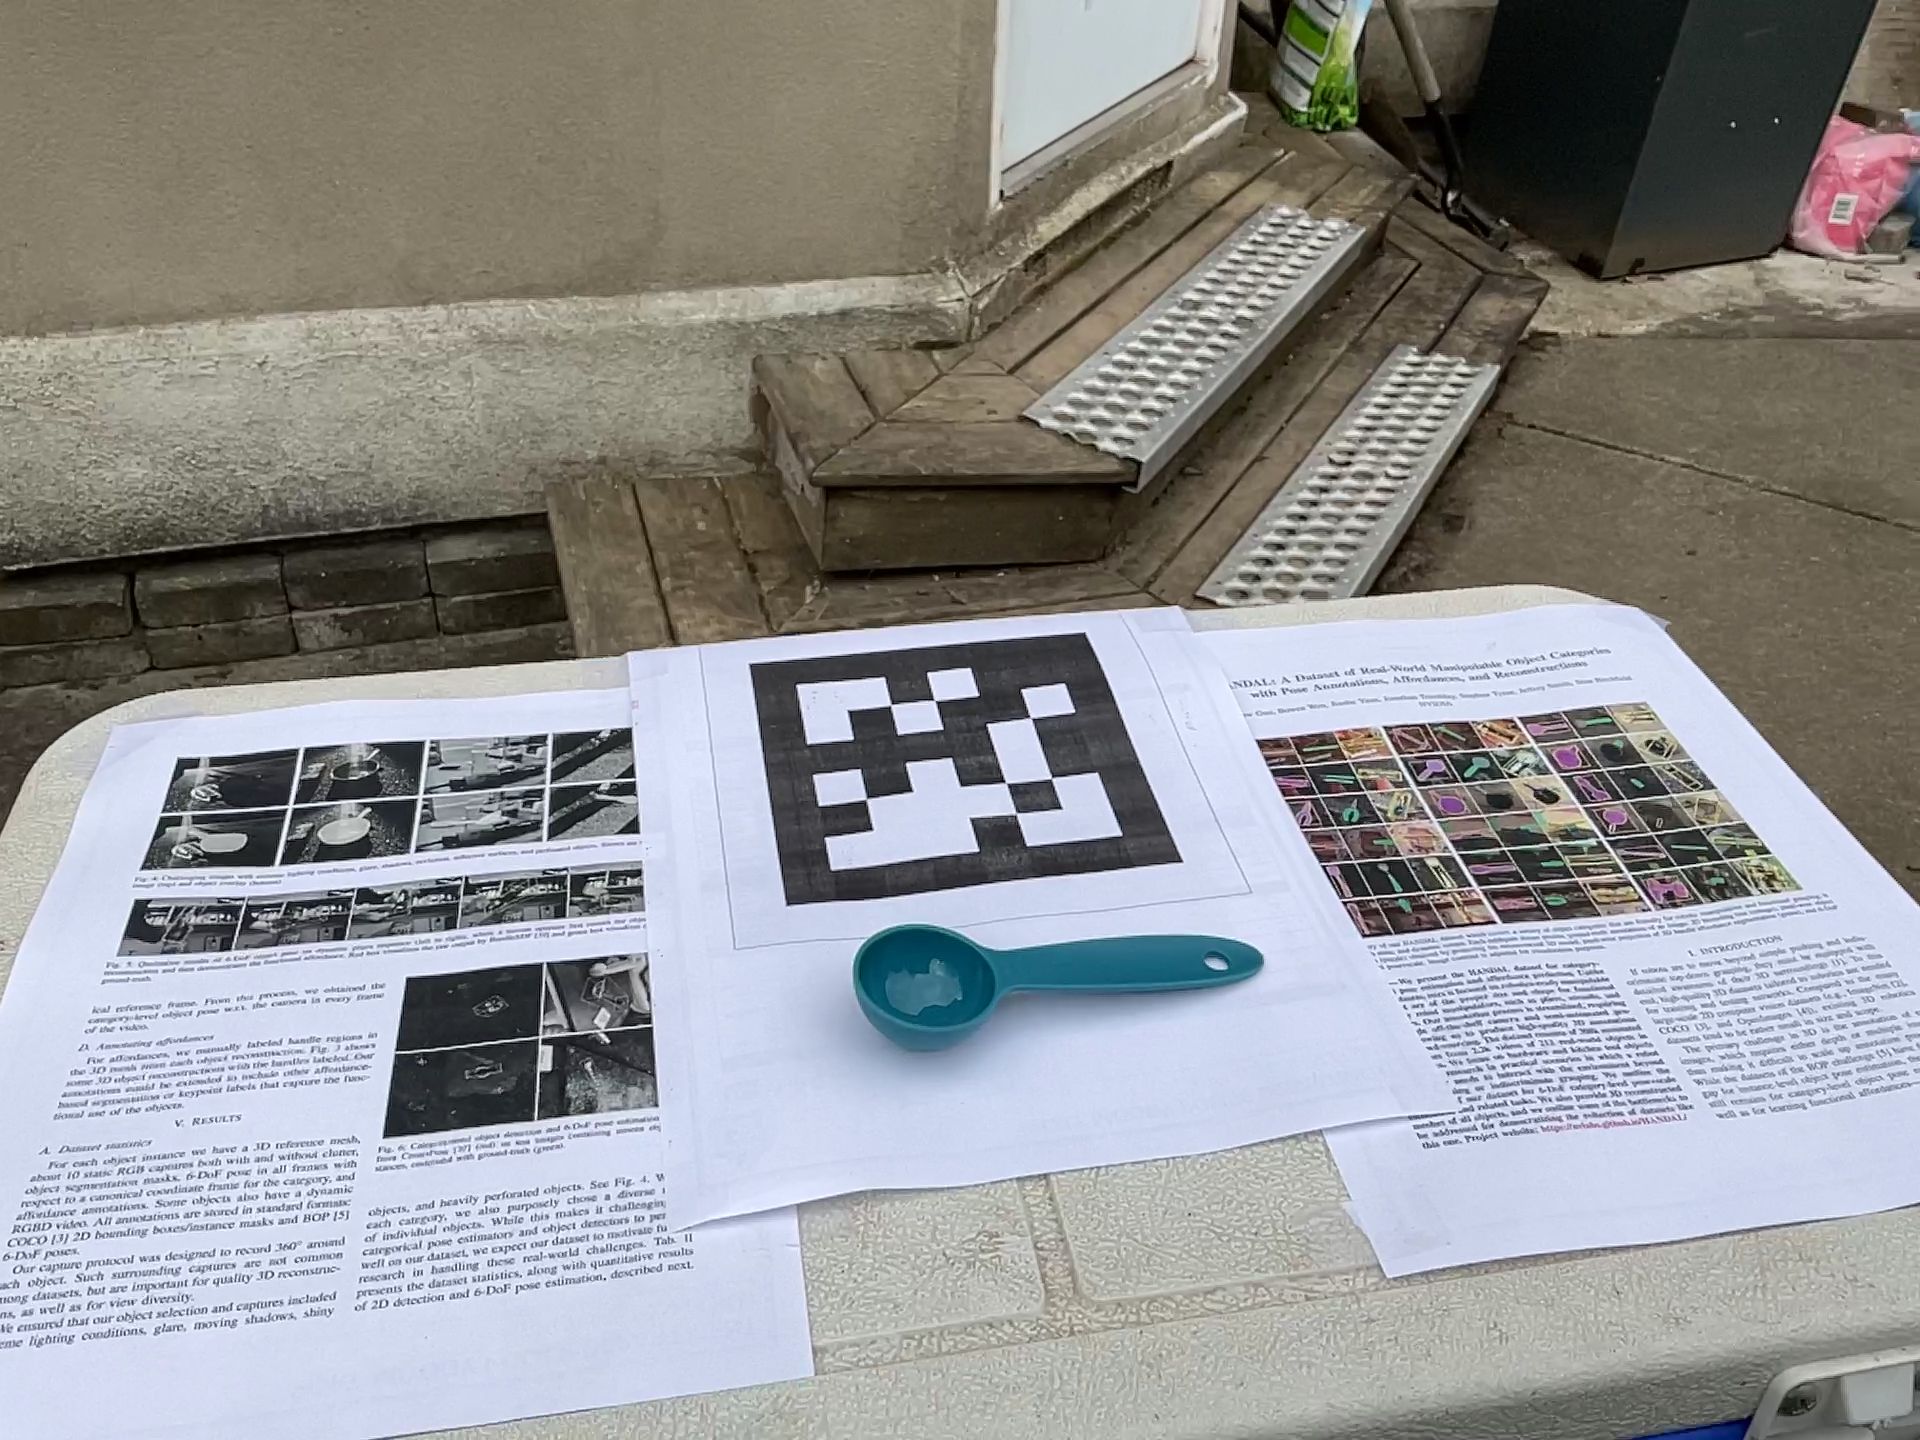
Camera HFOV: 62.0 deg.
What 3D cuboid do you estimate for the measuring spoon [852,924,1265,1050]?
[{"bbox_3d":[0.030,0.080,0.471,0.128,0.021,0.042,0,36,-18],"label":"measuring spoon"}]
